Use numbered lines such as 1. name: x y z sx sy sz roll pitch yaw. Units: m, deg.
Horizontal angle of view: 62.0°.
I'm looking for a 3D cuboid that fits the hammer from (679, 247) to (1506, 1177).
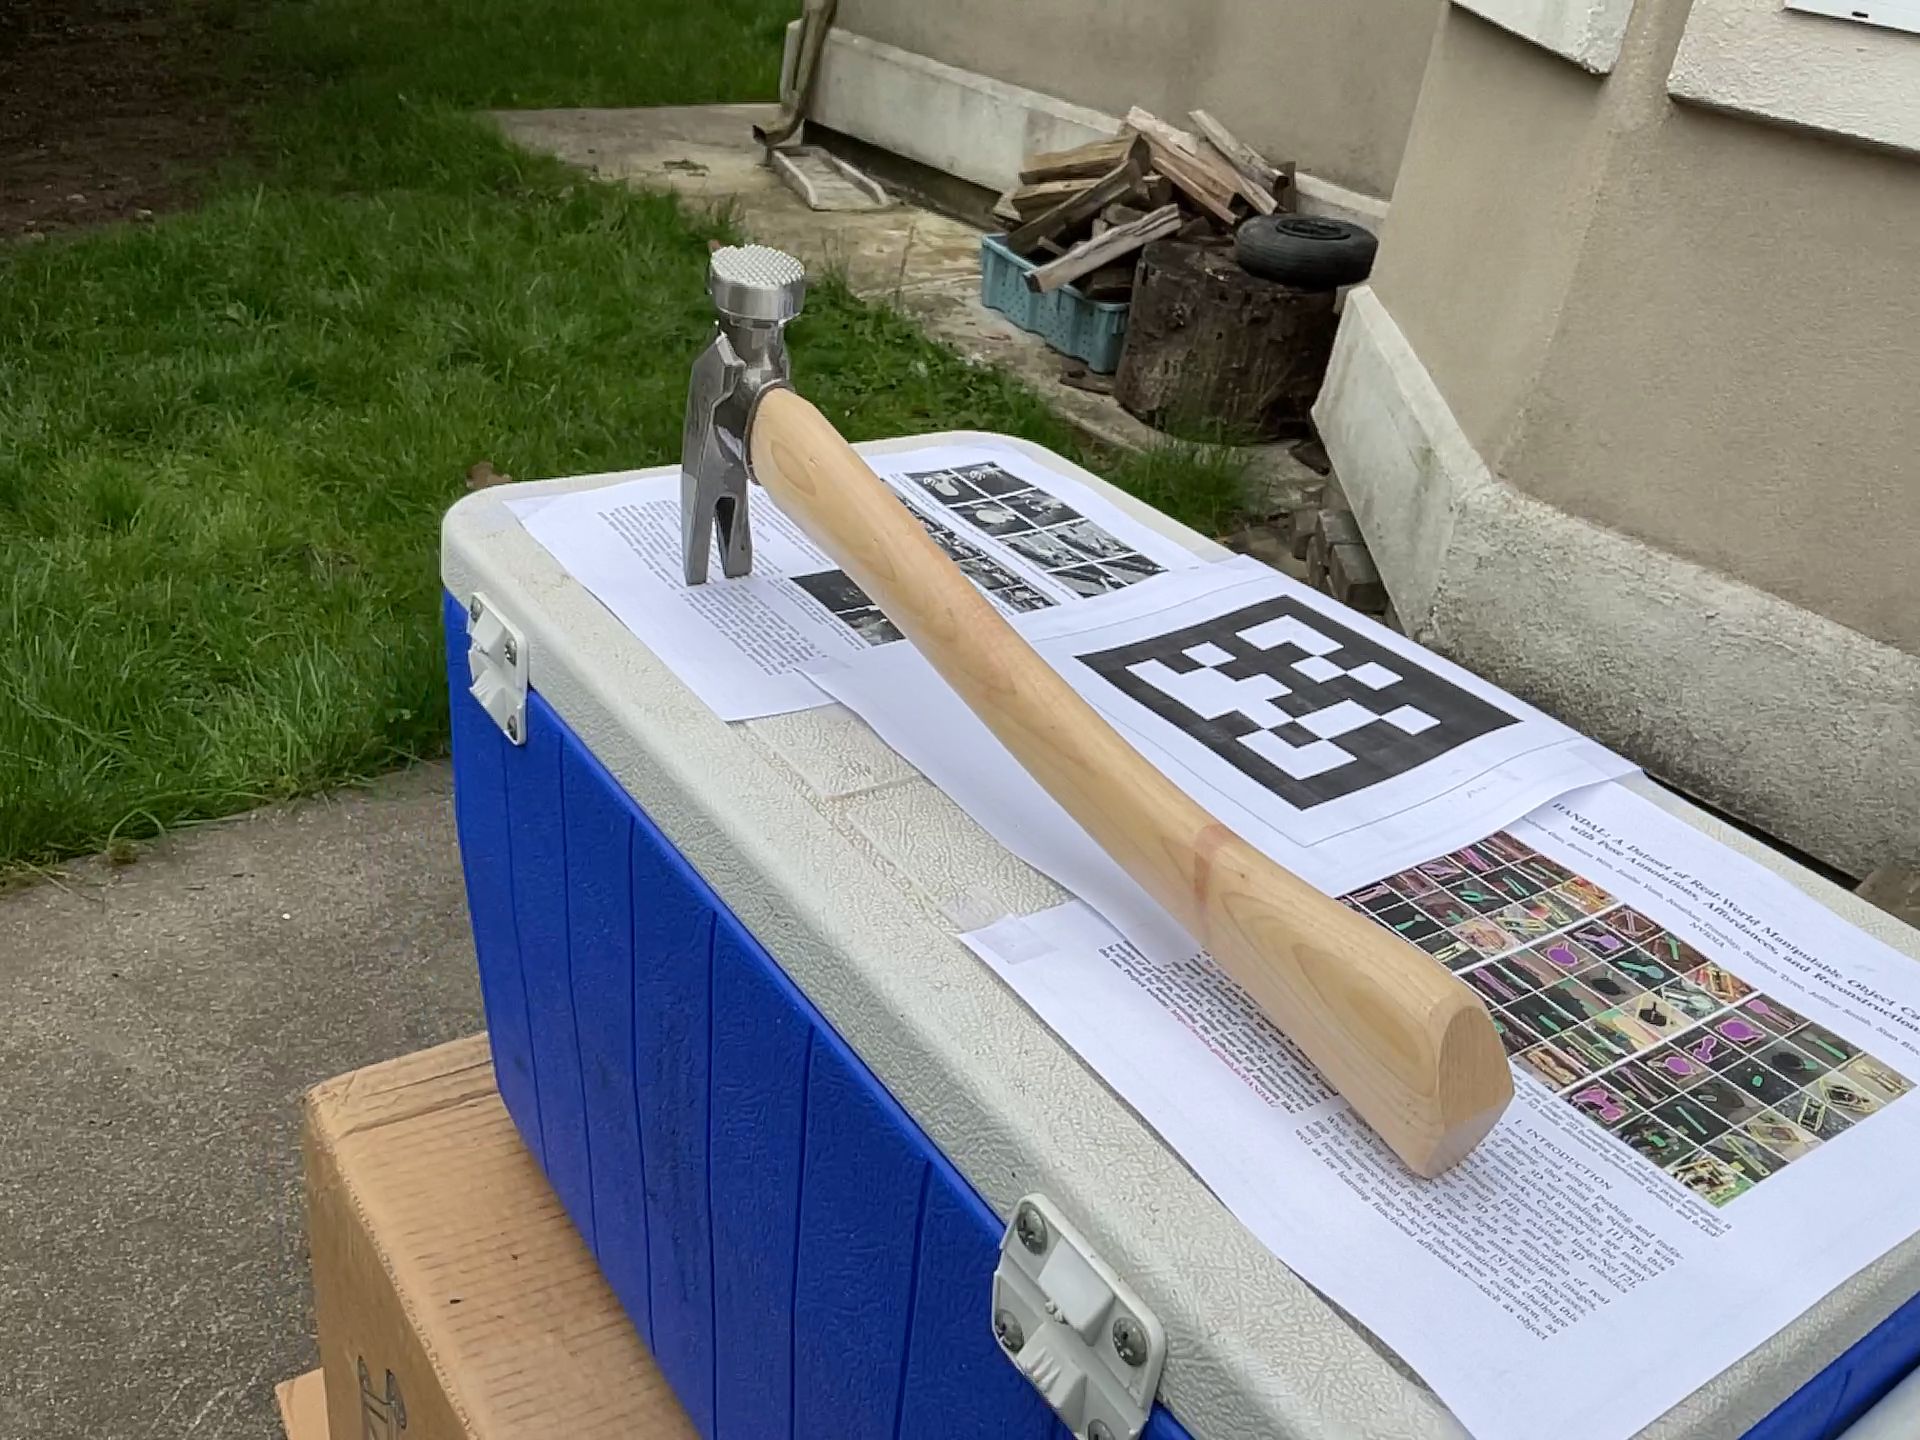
1. hammer: 0.013 -0.006 0.539 0.038 0.146 0.411 -15 46 -33
